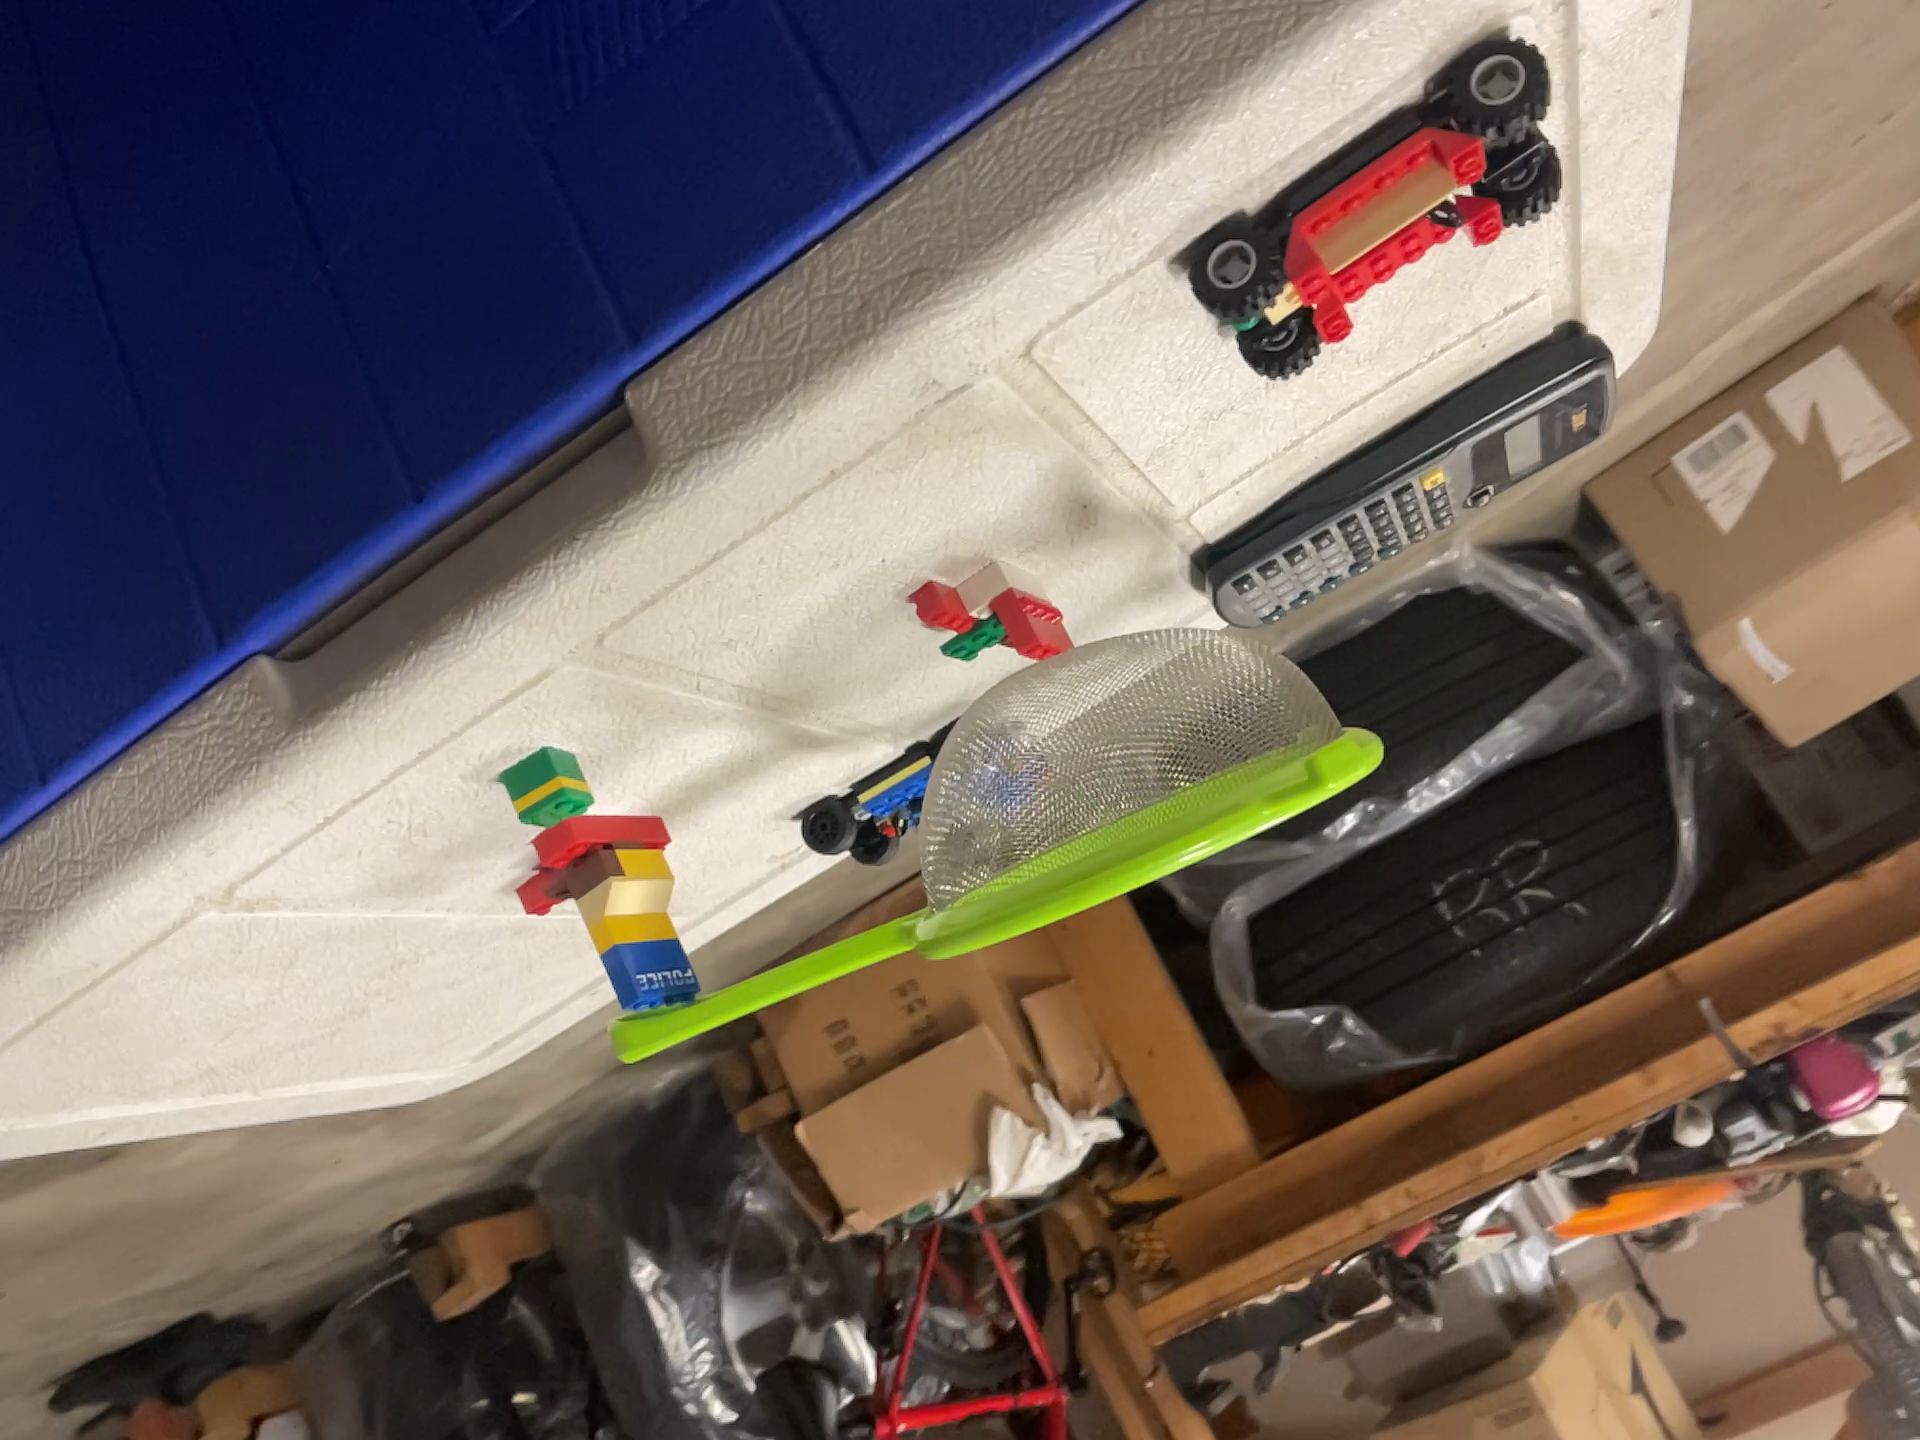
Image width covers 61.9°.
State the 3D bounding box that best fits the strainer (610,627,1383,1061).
[{"bbox_3d":[-0.003,0.032,0.492,0.256,0.069,0.151,-23,178,11],"label":"strainer"}]
